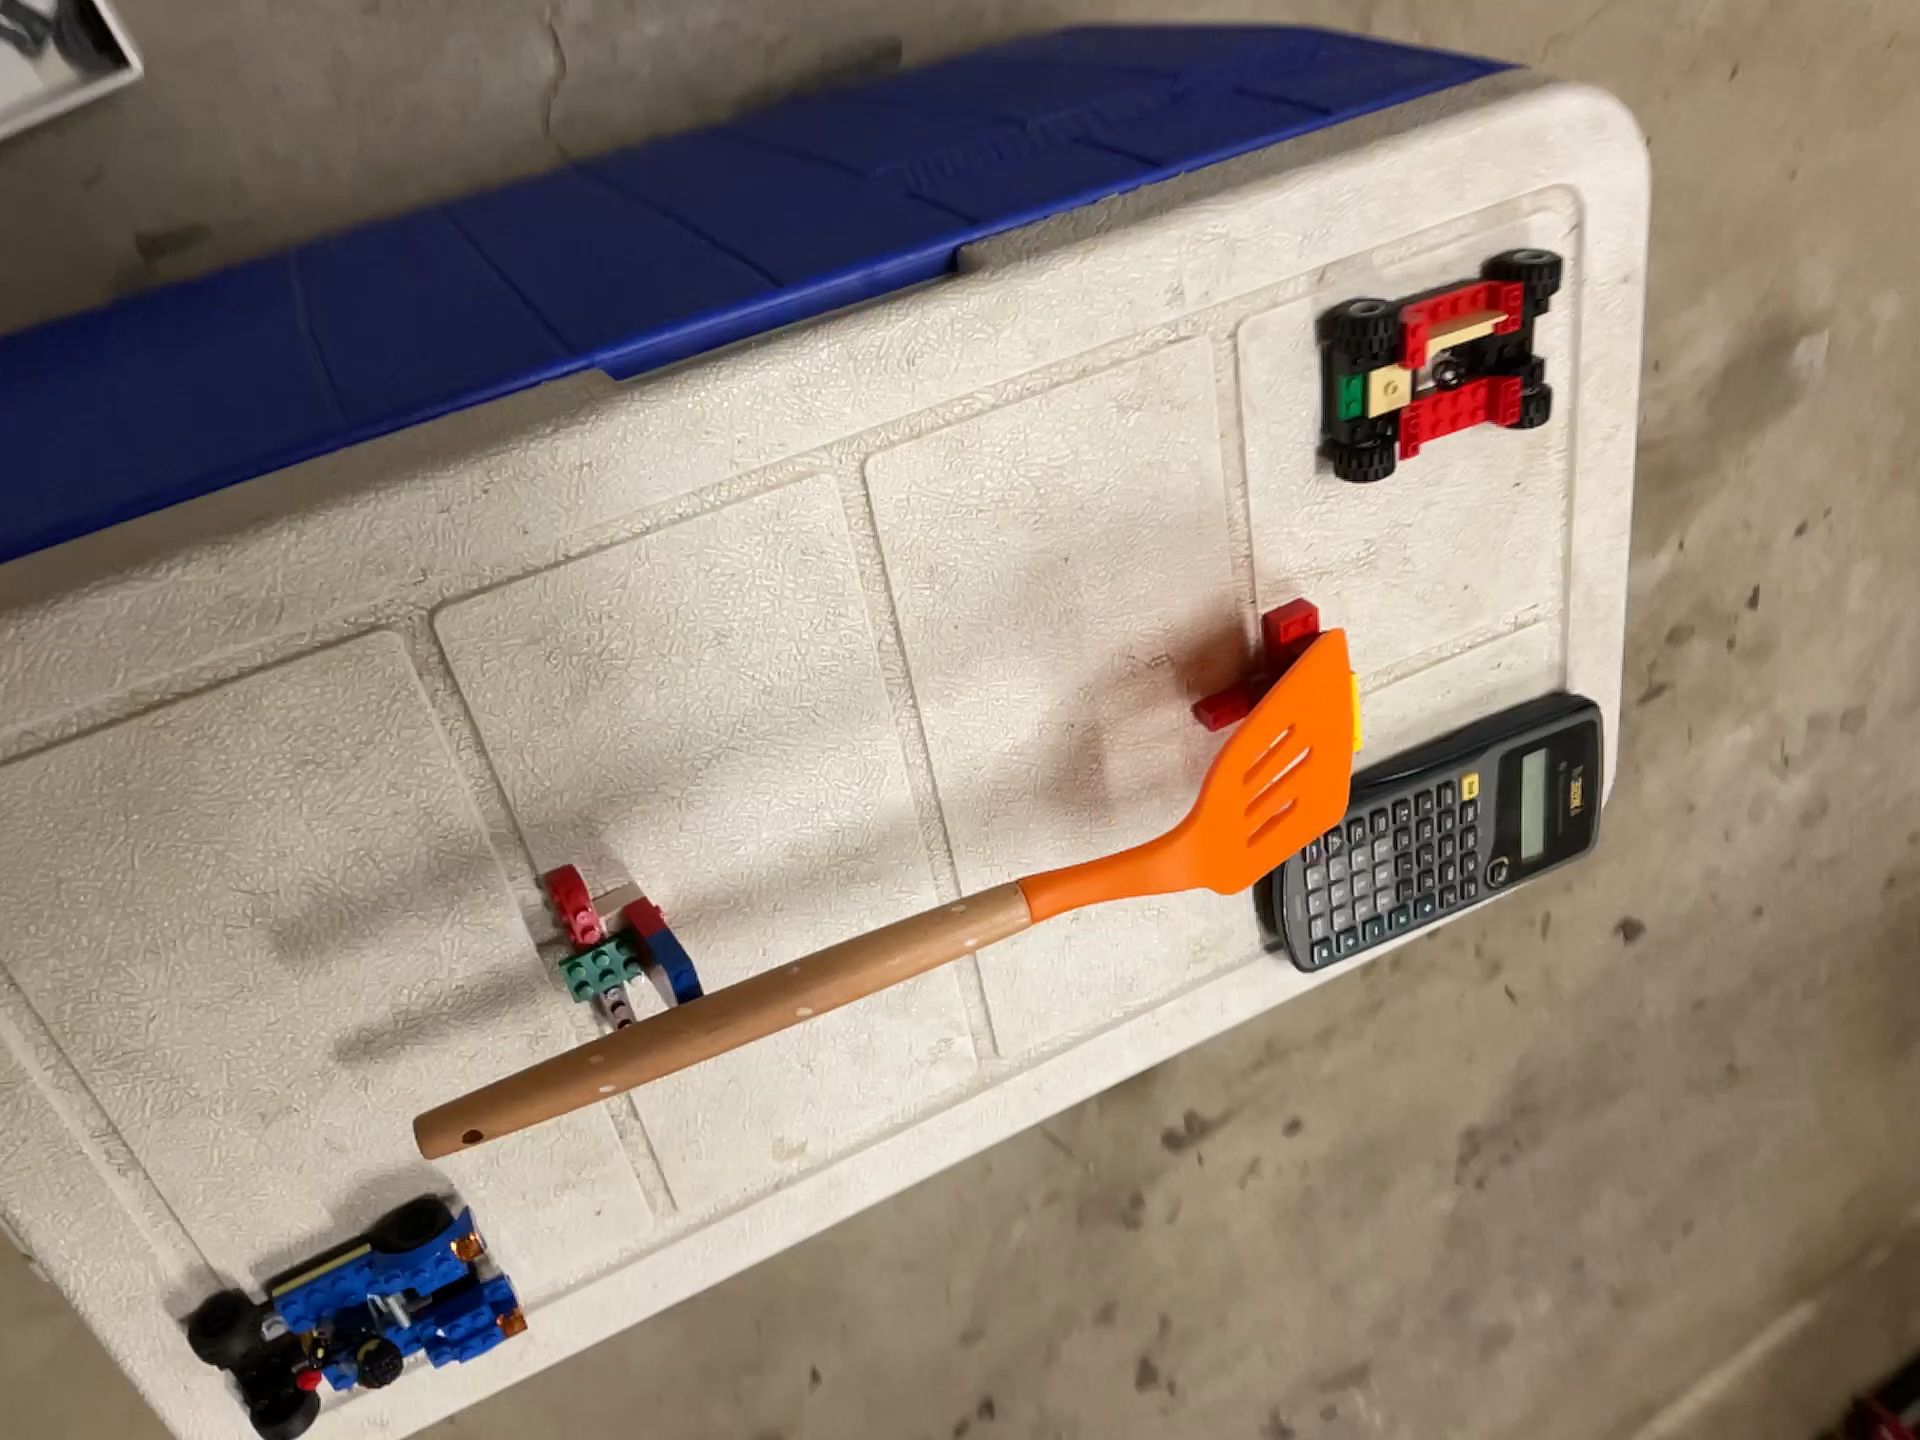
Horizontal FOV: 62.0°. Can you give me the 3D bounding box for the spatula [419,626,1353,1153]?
[{"bbox_3d":[-0.006,0.060,0.494,0.322,0.041,0.081,-20,125,-13],"label":"spatula"}]
